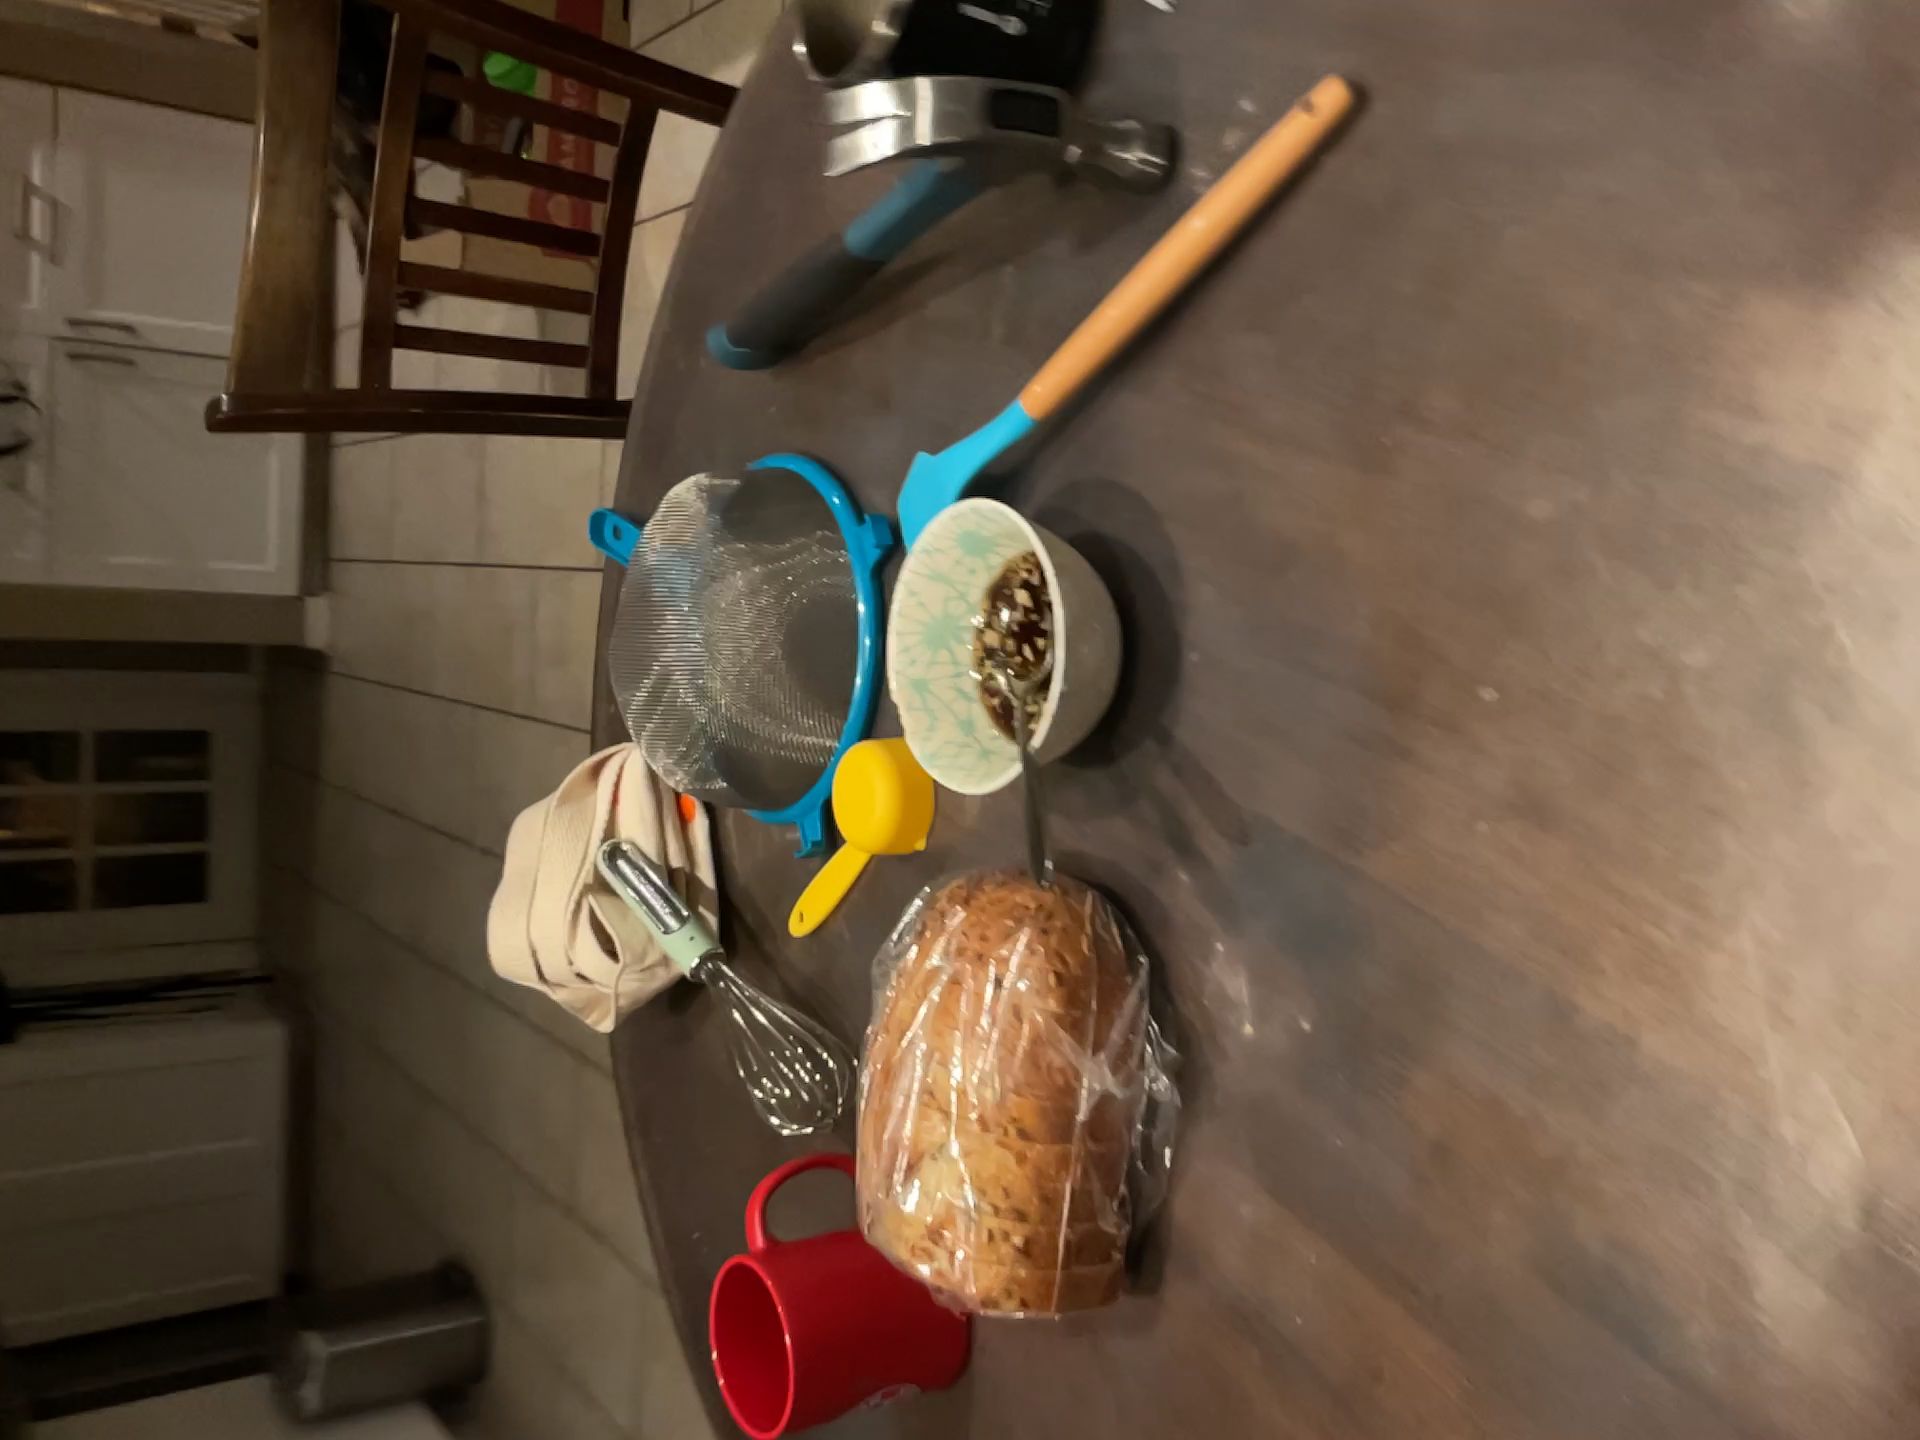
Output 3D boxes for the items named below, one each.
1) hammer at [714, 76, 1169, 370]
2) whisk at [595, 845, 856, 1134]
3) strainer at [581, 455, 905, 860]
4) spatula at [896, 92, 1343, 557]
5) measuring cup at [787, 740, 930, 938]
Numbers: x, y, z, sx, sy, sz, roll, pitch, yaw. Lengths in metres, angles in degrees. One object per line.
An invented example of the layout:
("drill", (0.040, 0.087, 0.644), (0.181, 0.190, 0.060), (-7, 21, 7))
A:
("hammer", (-0.045, -0.225, 0.769), (0.331, 0.128, 0.033), (-9, 79, 62))
("whisk", (-0.139, 0.144, 0.897), (0.246, 0.058, 0.059), (40, 152, 37))
("strainer", (-0.172, -0.068, 0.932), (0.340, 0.095, 0.211), (31, 114, 45))
("spatula", (0.052, -0.147, 0.690), (0.317, 0.044, 0.082), (-40, 57, 41))
("measuring cup", (-0.065, 0.069, 0.835), (0.156, 0.029, 0.062), (-52, 50, 37))
